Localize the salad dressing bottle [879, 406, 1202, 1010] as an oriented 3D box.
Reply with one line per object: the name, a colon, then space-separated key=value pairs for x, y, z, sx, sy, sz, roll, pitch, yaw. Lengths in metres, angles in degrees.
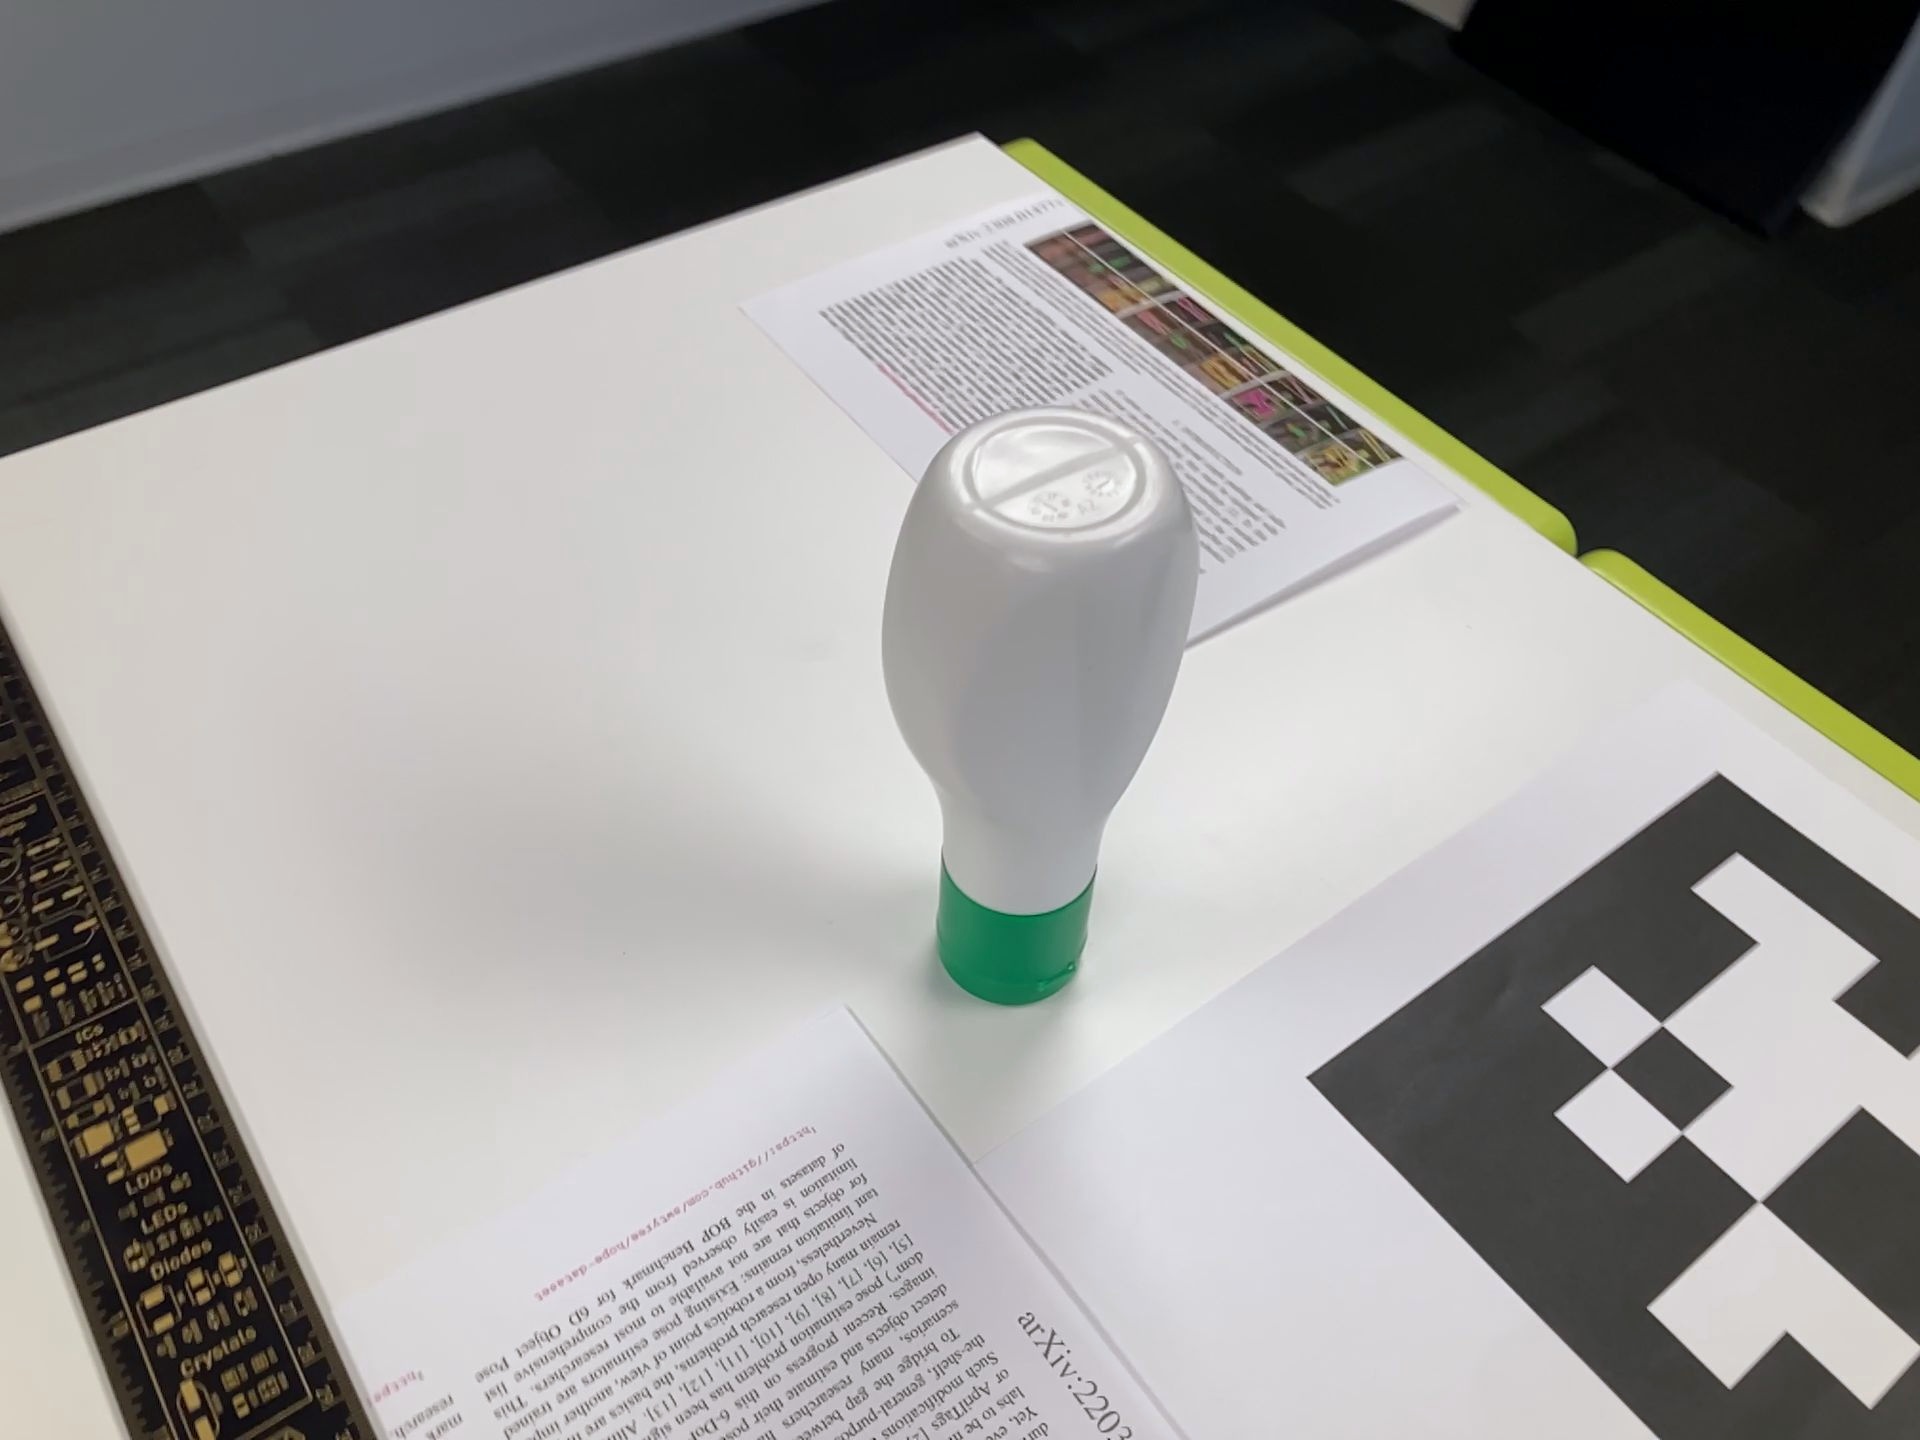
salad dressing bottle: x=0.015 y=0.006 z=0.334 sx=0.064 sy=0.147 sz=0.044 roll=-26 pitch=53 yaw=-24
